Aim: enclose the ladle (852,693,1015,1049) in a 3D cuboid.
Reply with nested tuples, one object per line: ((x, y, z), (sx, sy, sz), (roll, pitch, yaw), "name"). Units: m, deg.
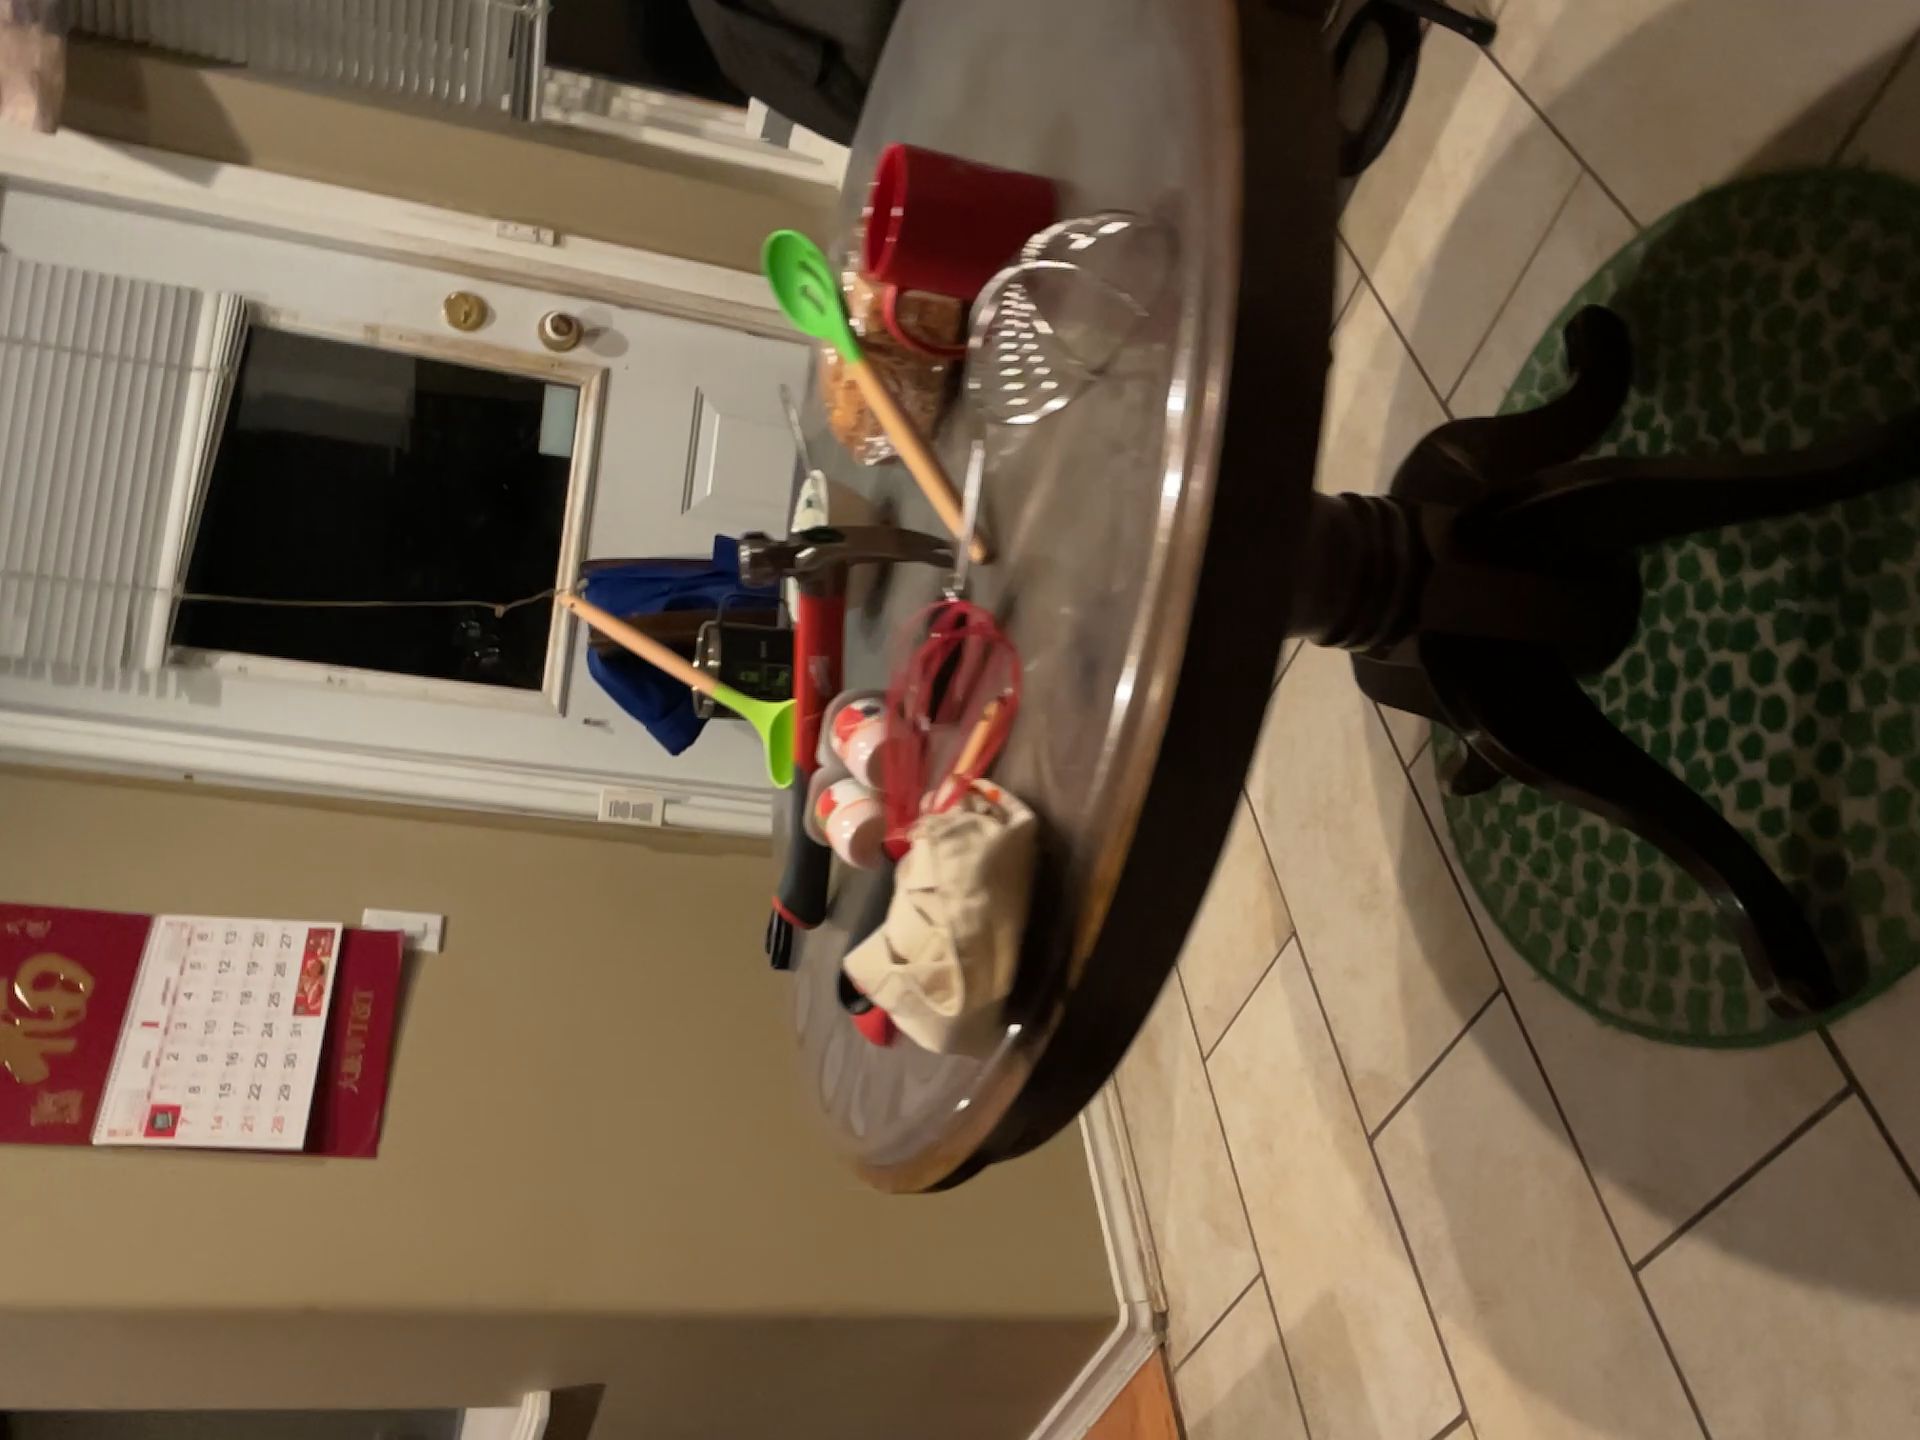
((-0.022, 0.102, 1.019), (0.069, 0.031, 0.315), (-104, 29, -46), "ladle")

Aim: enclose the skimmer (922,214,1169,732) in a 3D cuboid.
((0.037, -0.117, 0.908), (0.363, 0.090, 0.127), (100, 173, -47), "skimmer")

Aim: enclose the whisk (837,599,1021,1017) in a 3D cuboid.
((-0.027, 0.060, 0.886), (0.073, 0.073, 0.295), (-109, 30, -51), "whisk")

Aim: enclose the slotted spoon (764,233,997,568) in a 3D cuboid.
((-0.054, -0.217, 1.061), (0.314, 0.031, 0.070), (59, 149, 27), "slotted spoon")

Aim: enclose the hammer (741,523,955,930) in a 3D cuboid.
((-0.091, 0.019, 1.185), (0.038, 0.143, 0.386), (-101, 13, -47), "hammer")

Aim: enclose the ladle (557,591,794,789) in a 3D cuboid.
((-0.243, -0.038, 1.397), (0.062, 0.320, 0.078), (-12, -51, -63), "ladle")
